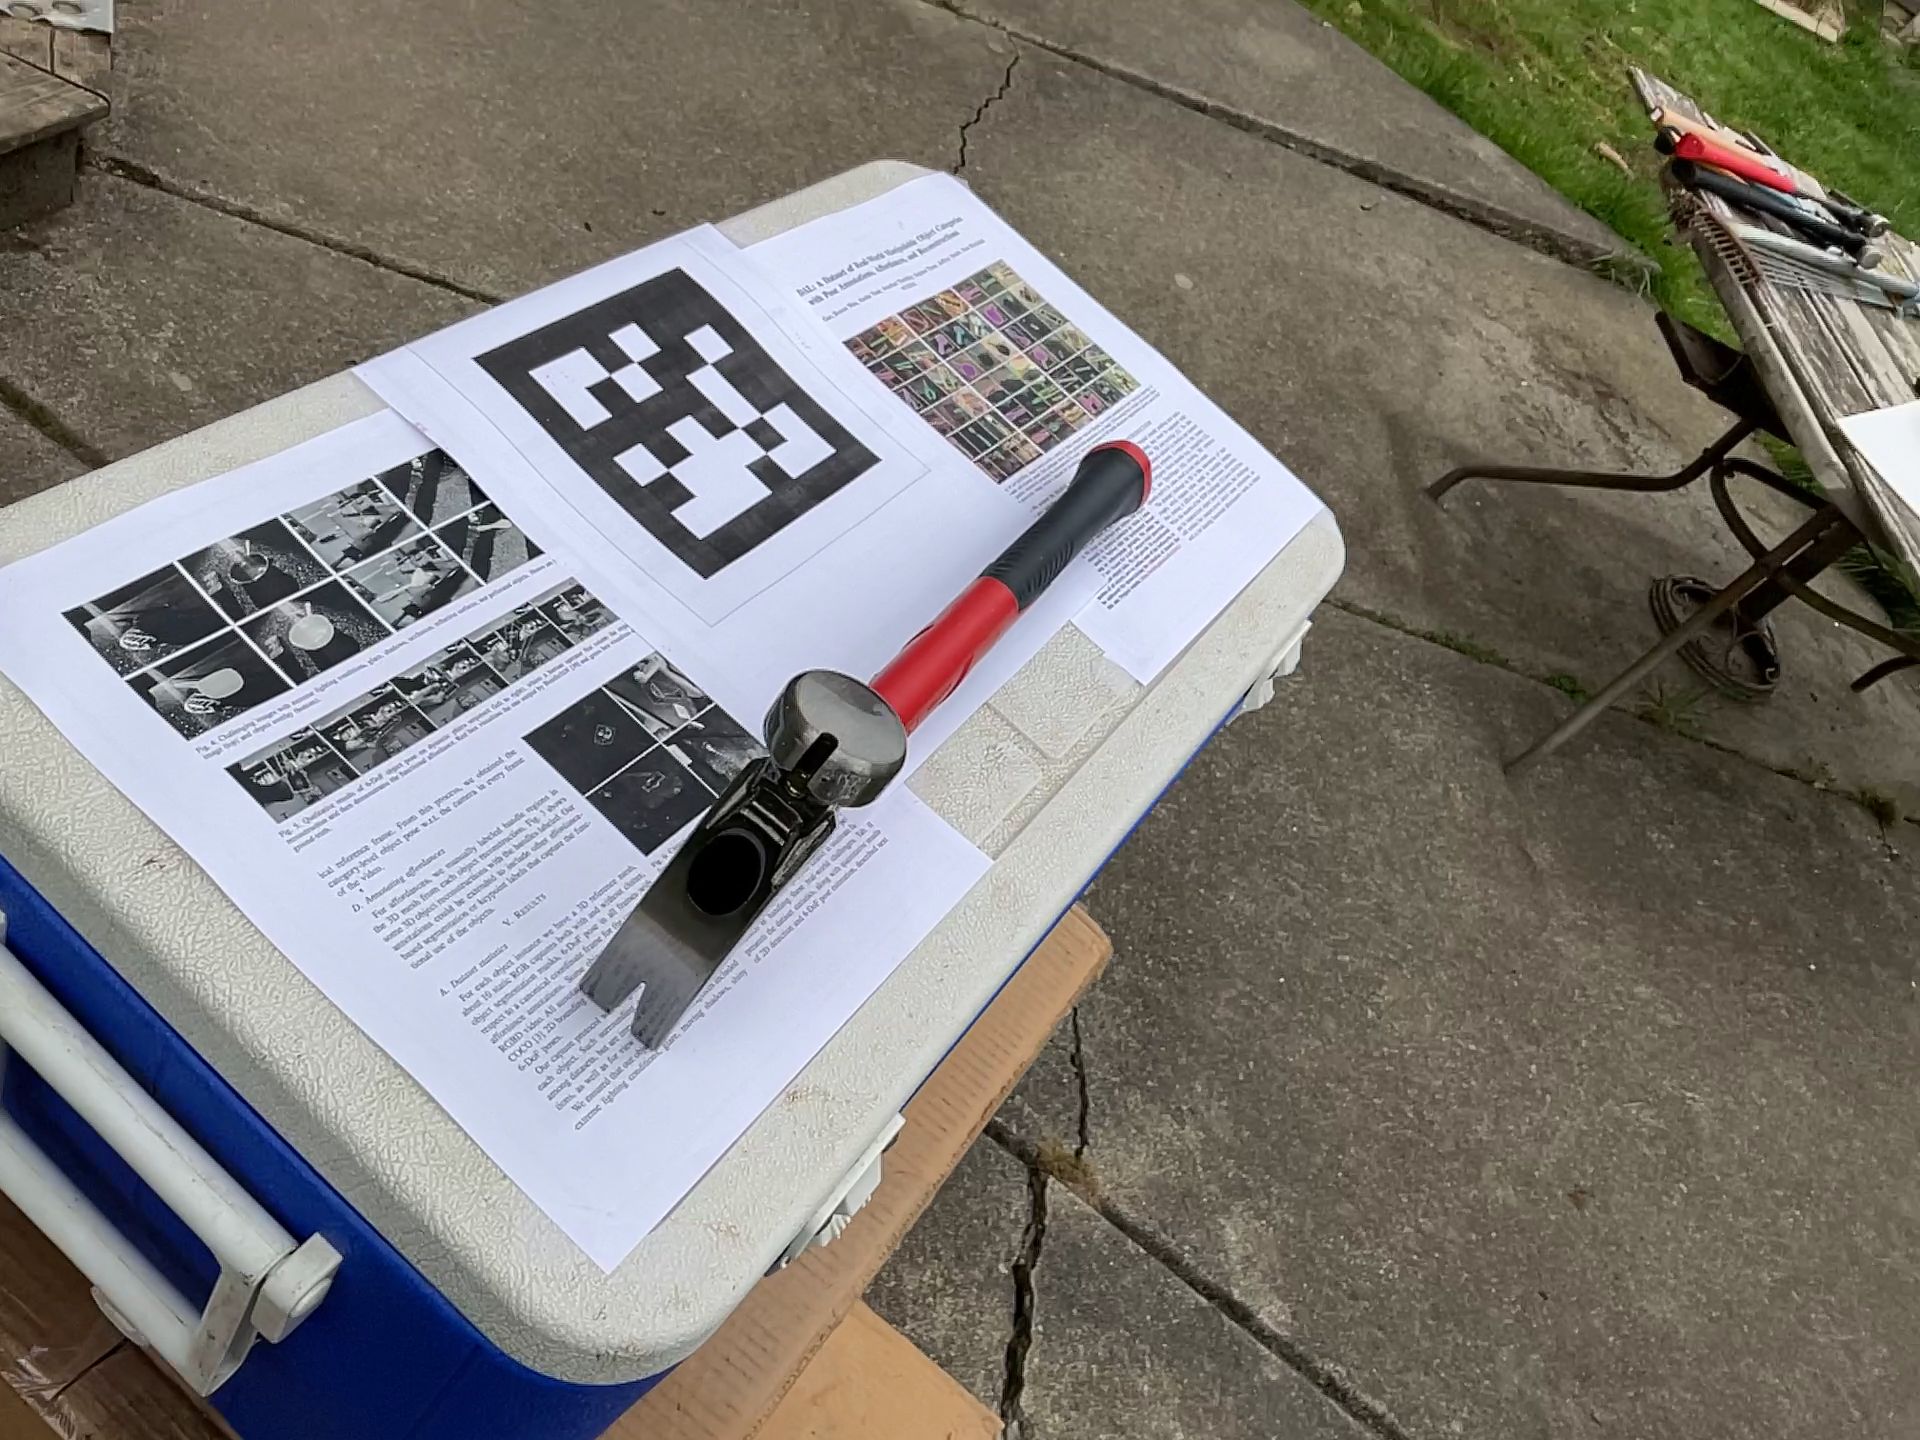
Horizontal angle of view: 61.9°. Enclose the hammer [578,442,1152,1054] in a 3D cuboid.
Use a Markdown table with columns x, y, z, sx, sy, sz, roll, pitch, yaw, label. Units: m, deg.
| x | y | z | sx | sy | sz | roll | pitch | yaw | label |
| --- | --- | --- | --- | --- | --- | --- | --- | --- | --- |
| -0.005 | -0.024 | 0.605 | 0.038 | 0.143 | 0.386 | 40 | 32 | 1 | hammer |
